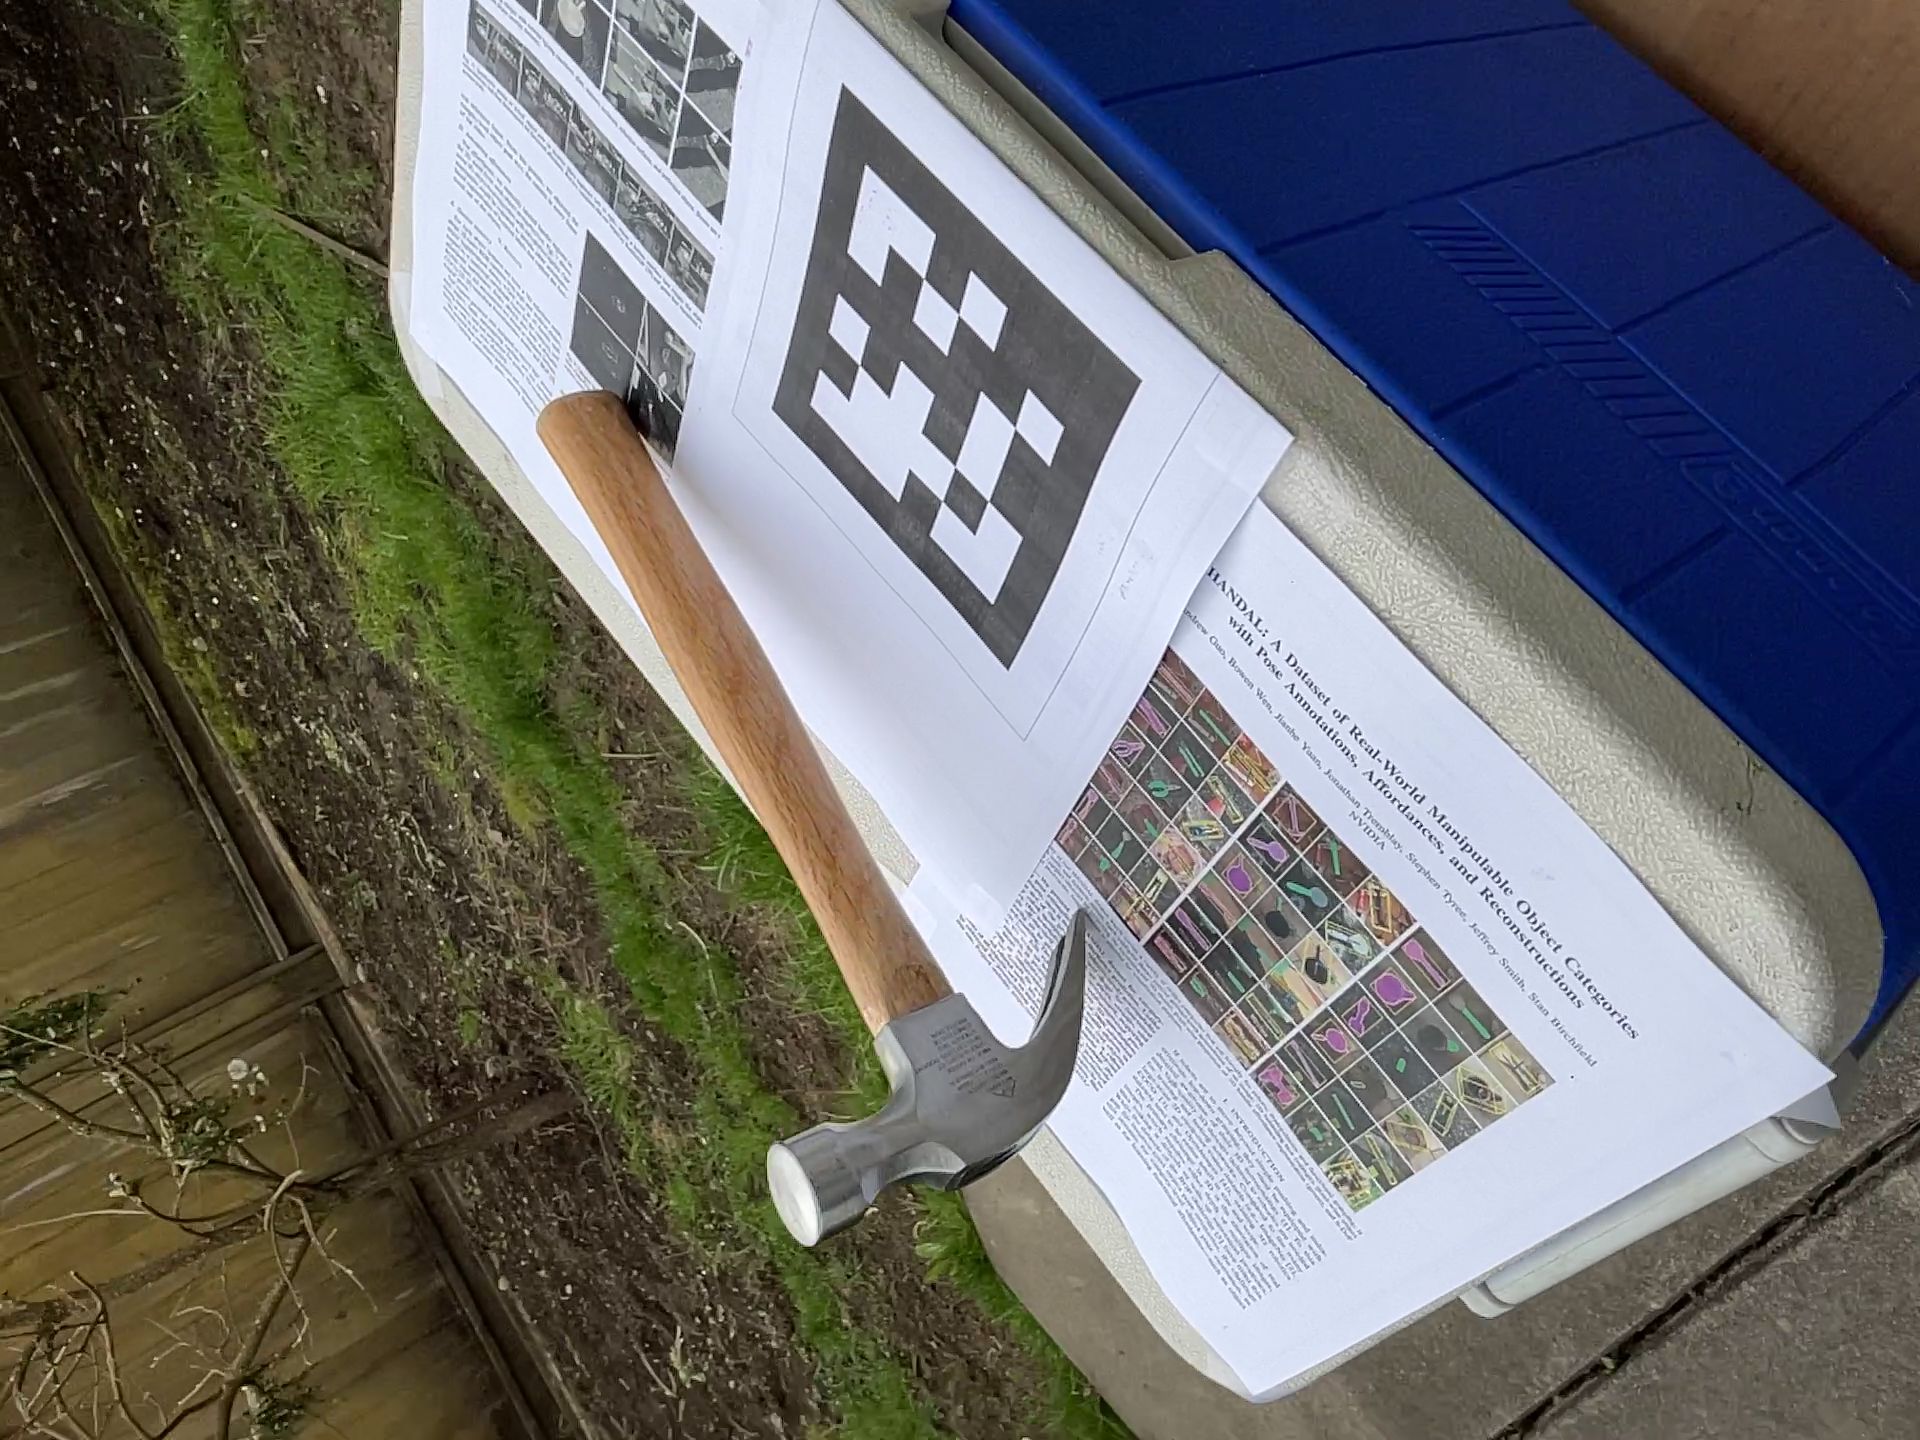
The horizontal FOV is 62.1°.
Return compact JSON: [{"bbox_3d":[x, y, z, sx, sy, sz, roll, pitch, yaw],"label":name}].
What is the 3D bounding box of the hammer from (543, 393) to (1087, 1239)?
[{"bbox_3d":[-0.066,0.006,0.559,0.332,0.130,0.031,58,145,25],"label":"hammer"}]
